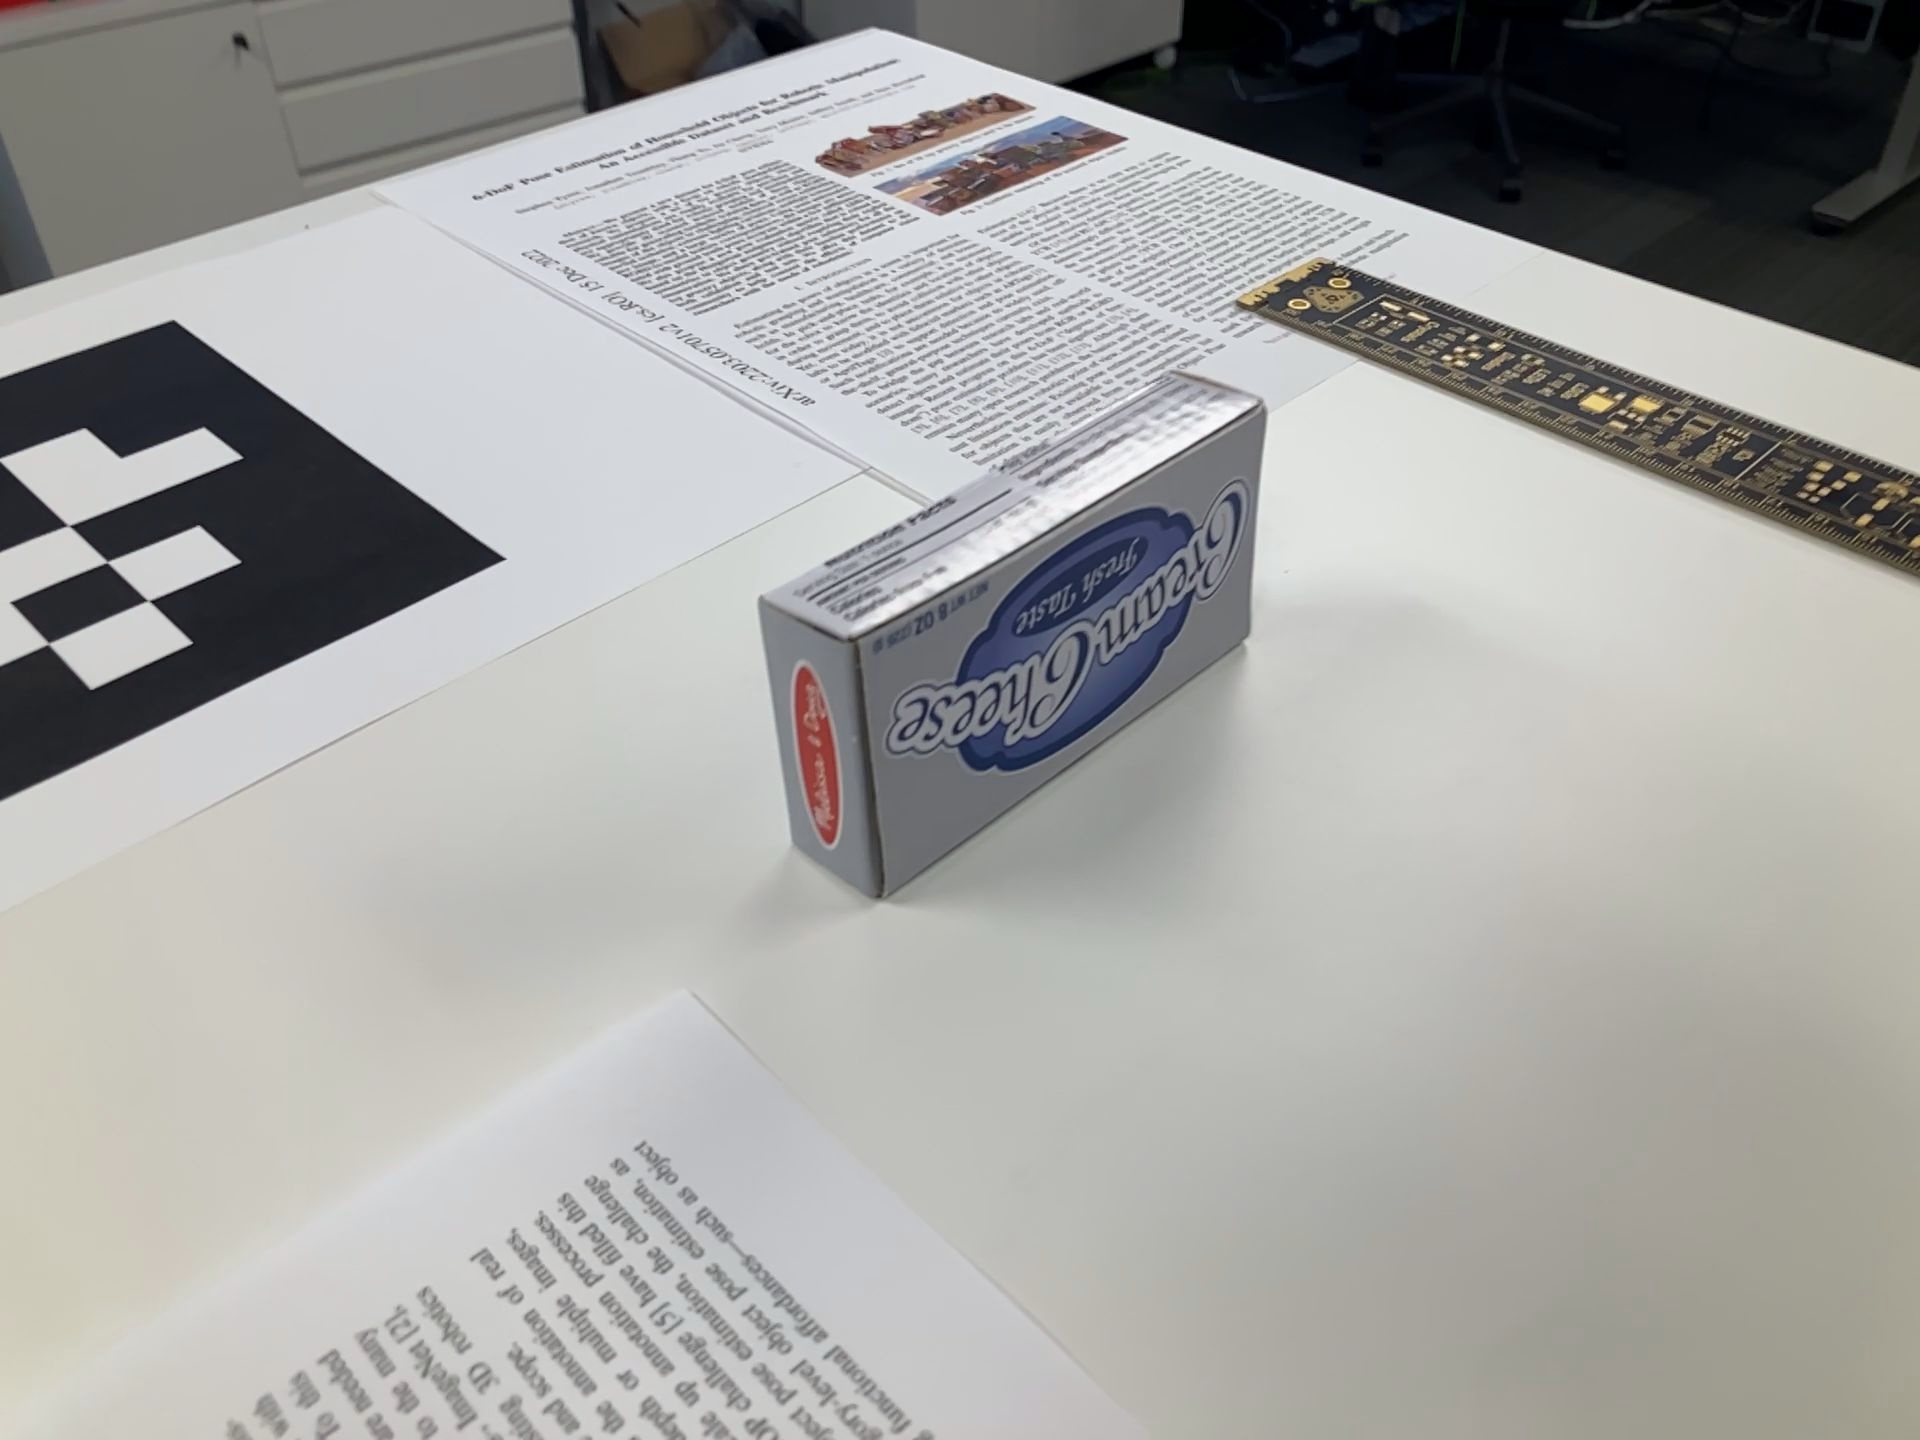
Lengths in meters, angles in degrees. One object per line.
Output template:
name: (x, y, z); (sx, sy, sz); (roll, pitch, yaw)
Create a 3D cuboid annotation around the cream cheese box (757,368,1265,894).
cream cheese box: (0.013, -0.019, 0.280); (0.024, 0.053, 0.104); (30, 48, 34)
